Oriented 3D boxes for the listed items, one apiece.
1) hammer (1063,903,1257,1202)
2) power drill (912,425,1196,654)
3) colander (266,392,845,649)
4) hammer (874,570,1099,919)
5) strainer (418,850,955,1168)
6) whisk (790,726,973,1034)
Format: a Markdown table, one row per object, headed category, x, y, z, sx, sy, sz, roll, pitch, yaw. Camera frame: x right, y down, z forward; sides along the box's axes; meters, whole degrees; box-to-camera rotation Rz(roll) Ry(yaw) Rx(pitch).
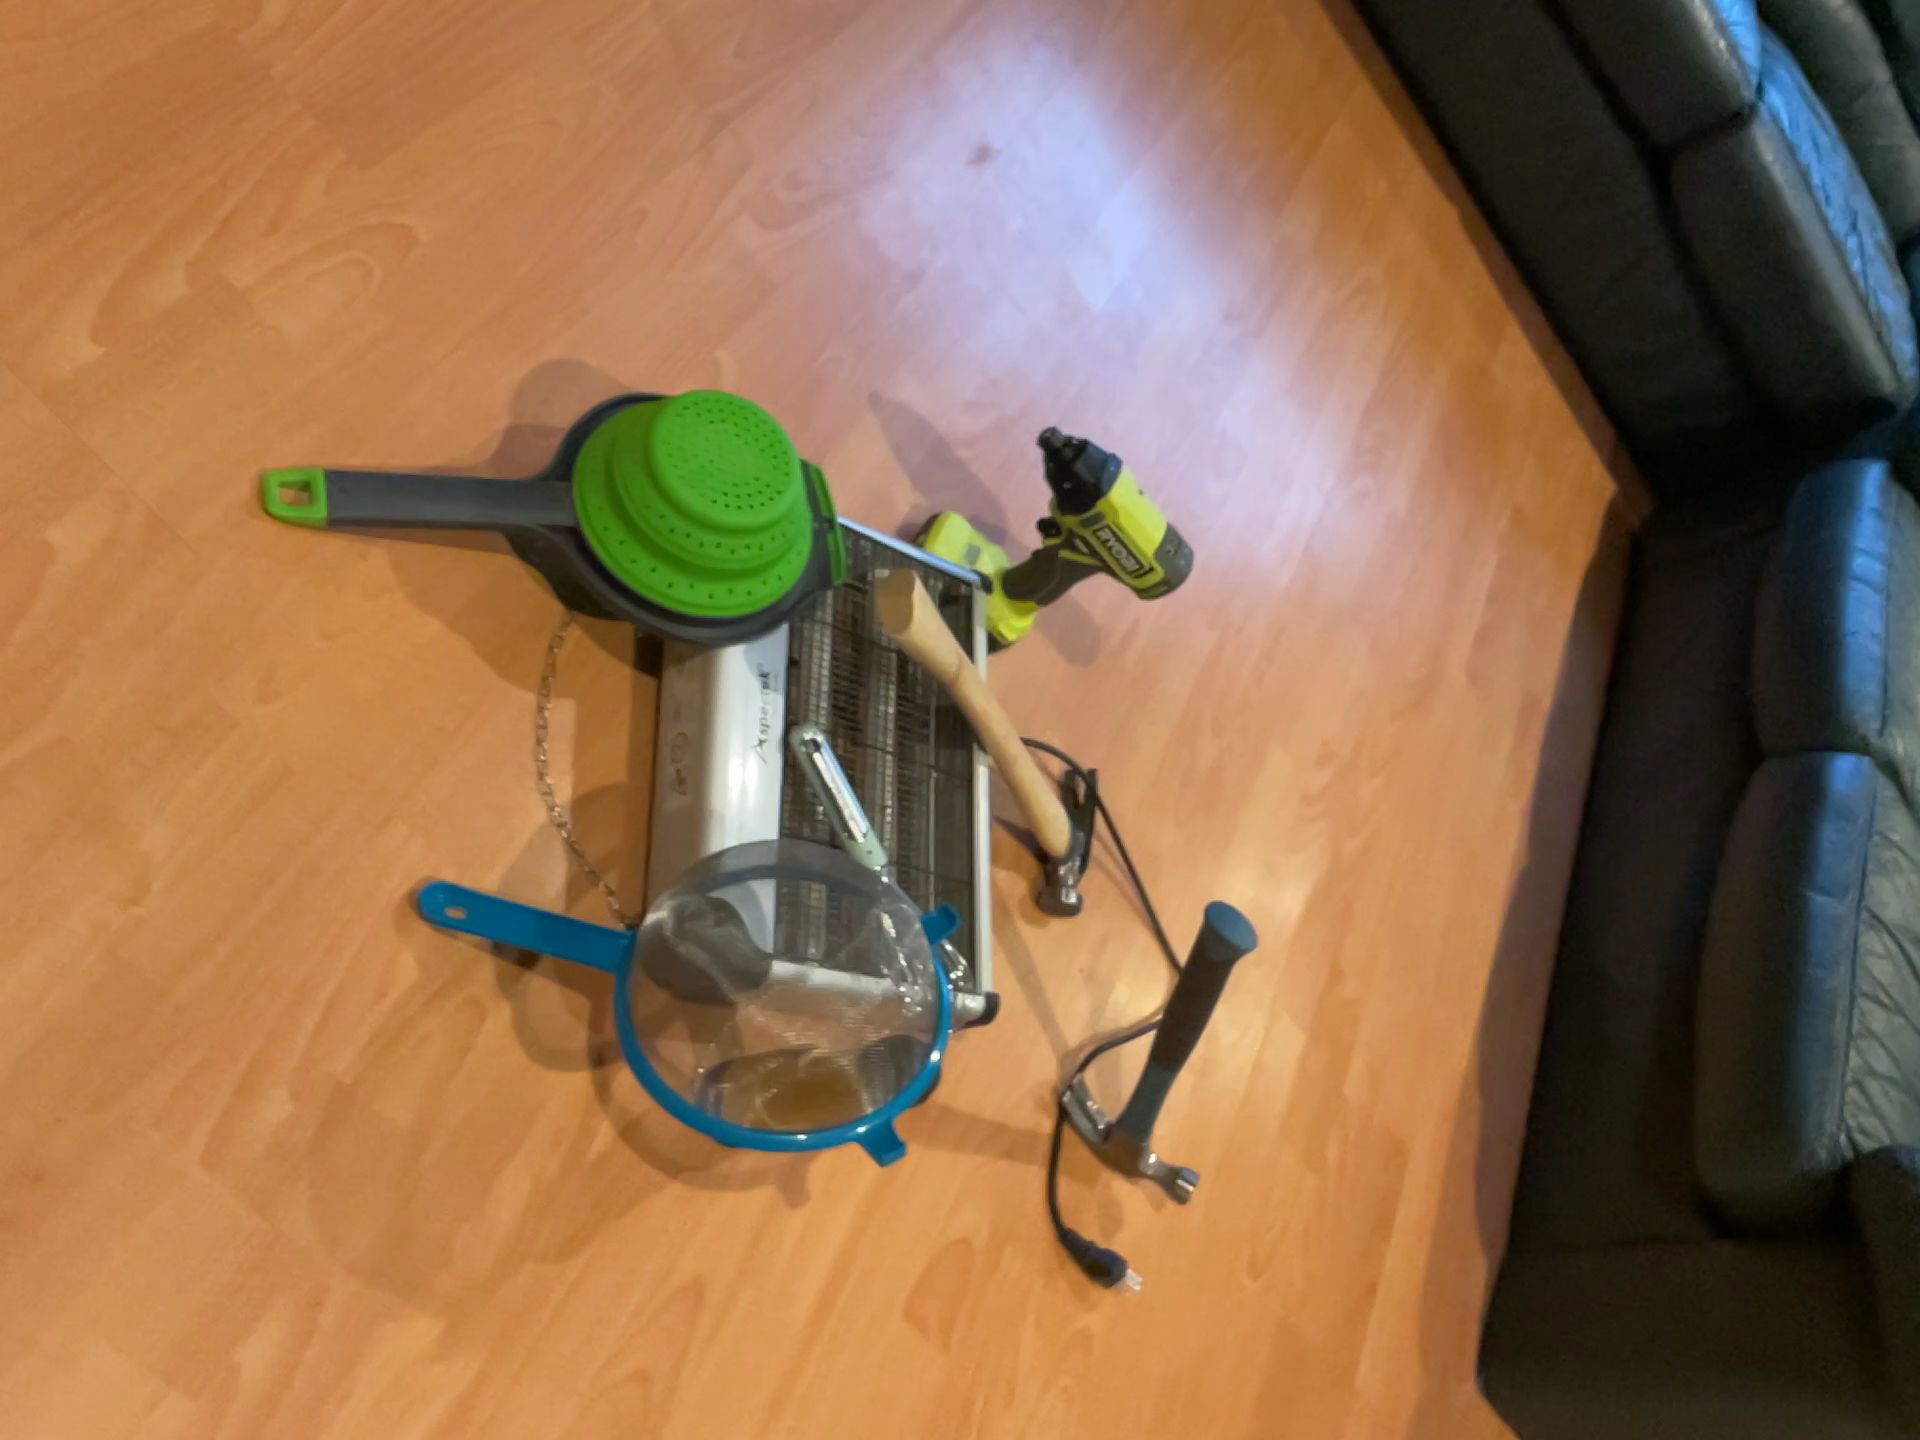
| category | x | y | z | sx | sy | sz | roll | pitch | yaw |
| --- | --- | --- | --- | --- | --- | --- | --- | --- | --- |
| hammer | 0.168 | 0.261 | 1.267 | 0.128 | 0.330 | 0.033 | 27 | 45 | 13 |
| power drill | 0.066 | -0.152 | 1.369 | 0.171 | 0.223 | 0.080 | 46 | 47 | -23 |
| colander | -0.248 | -0.159 | 1.079 | 0.397 | 0.094 | 0.204 | -1 | 67 | -29 |
| hammer | 0.031 | 0.006 | 1.295 | 0.410 | 0.038 | 0.146 | 56 | 39 | -50 |
| strainer | -0.166 | 0.132 | 0.983 | 0.340 | 0.095 | 0.211 | 16 | 44 | -1 |
| whisk | -0.059 | 0.115 | 1.148 | 0.058 | 0.059 | 0.246 | -28 | 92 | -18 |
